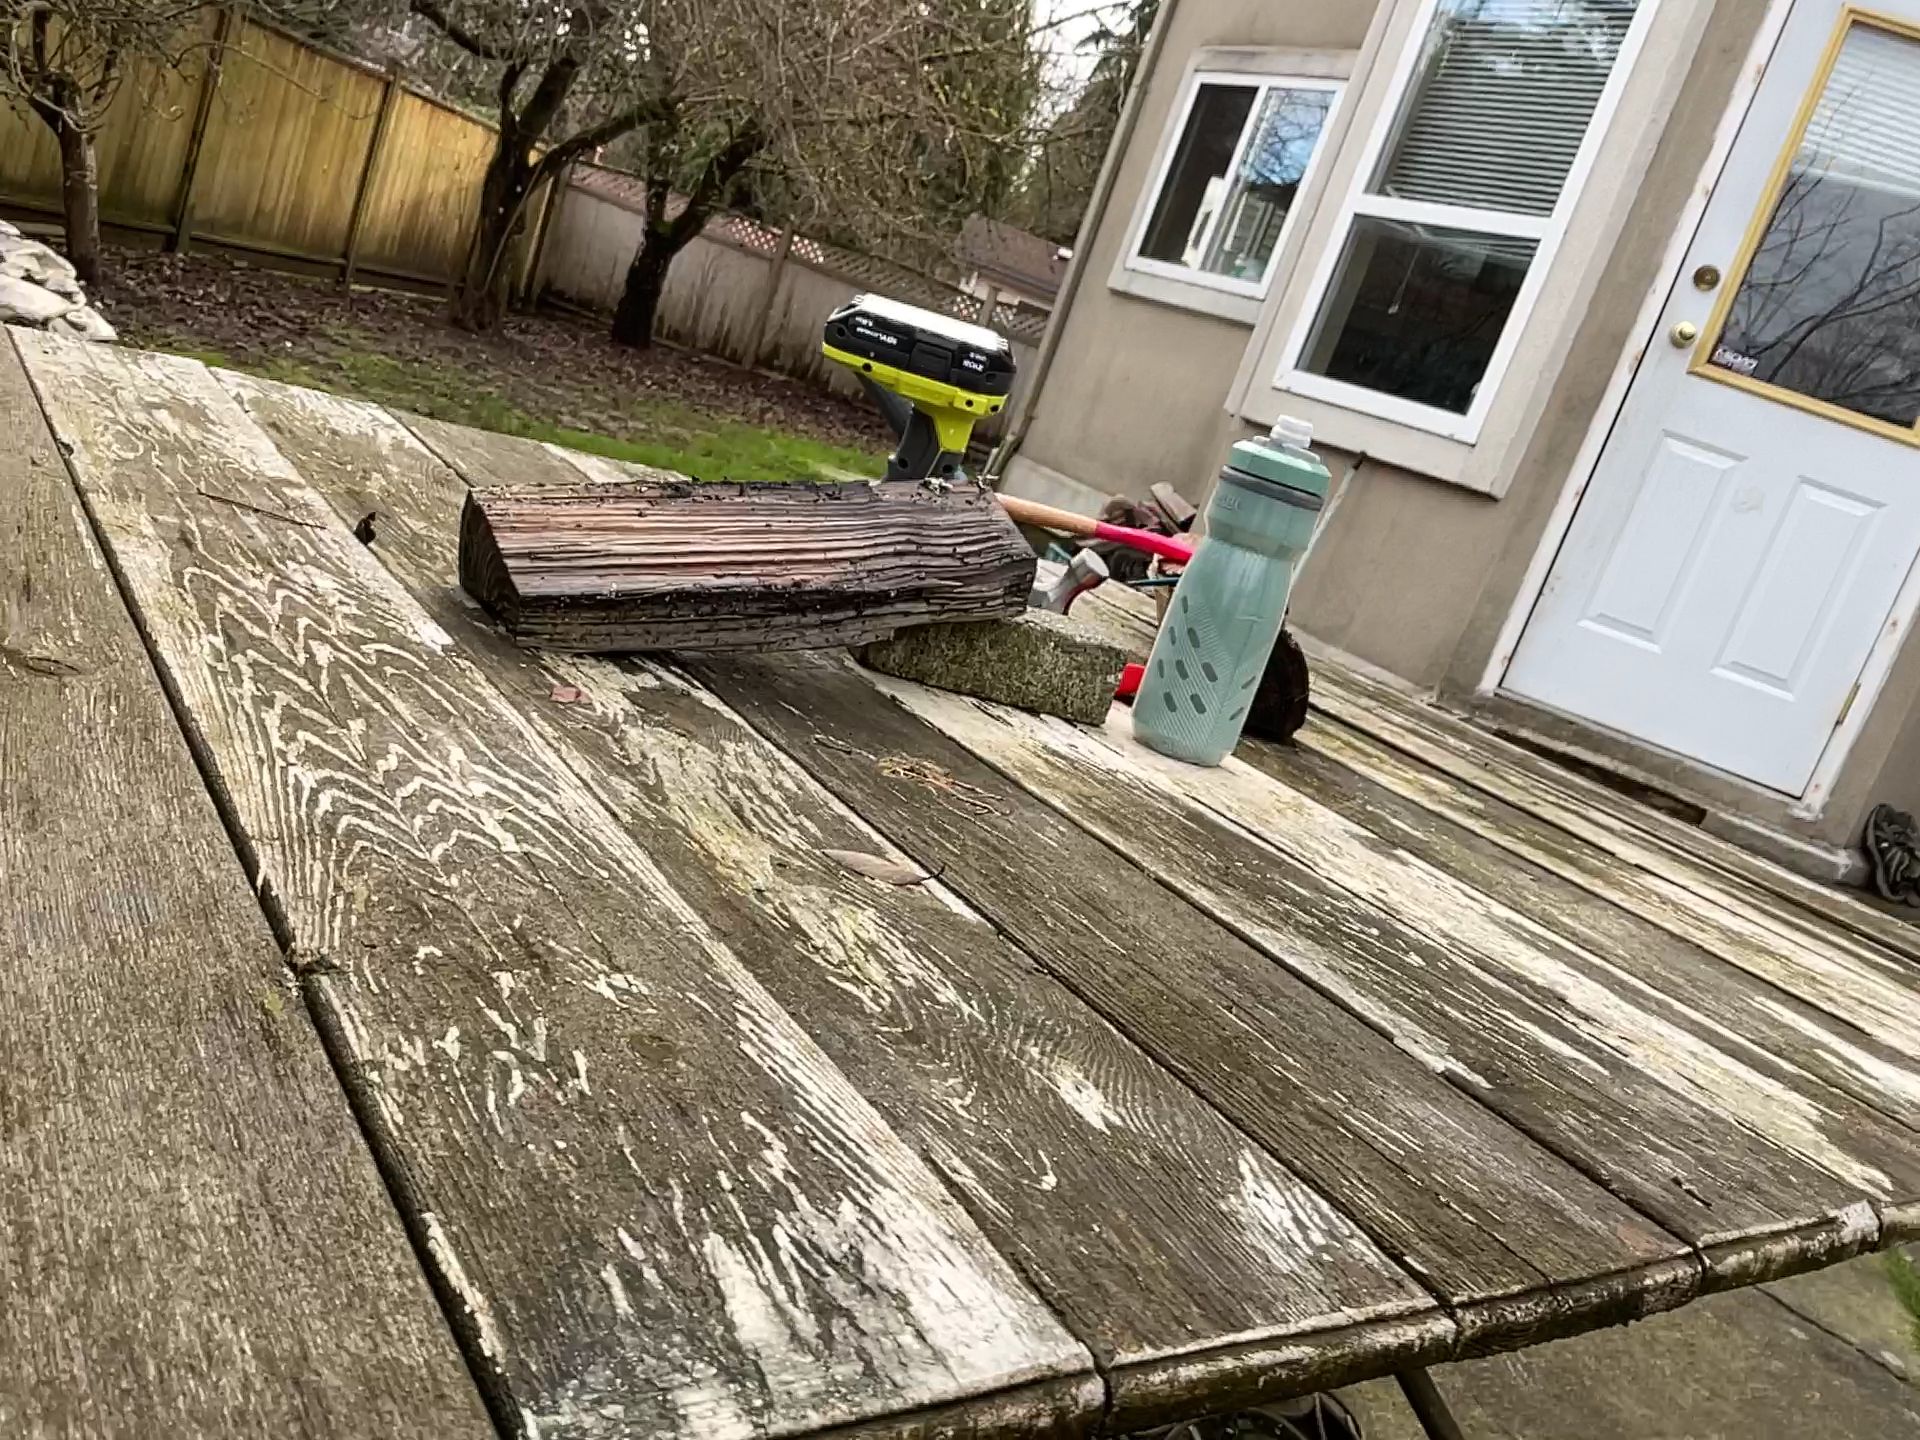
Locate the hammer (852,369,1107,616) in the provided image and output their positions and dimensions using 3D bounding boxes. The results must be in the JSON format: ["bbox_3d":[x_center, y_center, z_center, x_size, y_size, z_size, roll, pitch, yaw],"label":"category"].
[{"bbox_3d":[-0.015,-0.208,1.316,0.331,0.128,0.033,58,25,17],"label":"hammer"}]

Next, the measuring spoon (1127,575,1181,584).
[{"bbox_3d":[0.191,-0.105,1.273,0.129,0.021,0.042,1,1,35],"label":"measuring spoon"}]

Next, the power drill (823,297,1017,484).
[{"bbox_3d":[-0.061,-0.181,1.153,0.171,0.223,0.080,16,21,-5],"label":"power drill"}]

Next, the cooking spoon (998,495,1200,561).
[{"bbox_3d":[0.099,-0.176,1.424,0.319,0.017,0.069,13,14,-3],"label":"cooking spoon"}]

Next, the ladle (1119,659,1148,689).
[{"bbox_3d":[0.082,-0.073,1.334,0.069,0.031,0.316,11,13,-21],"label":"ladle"}]
